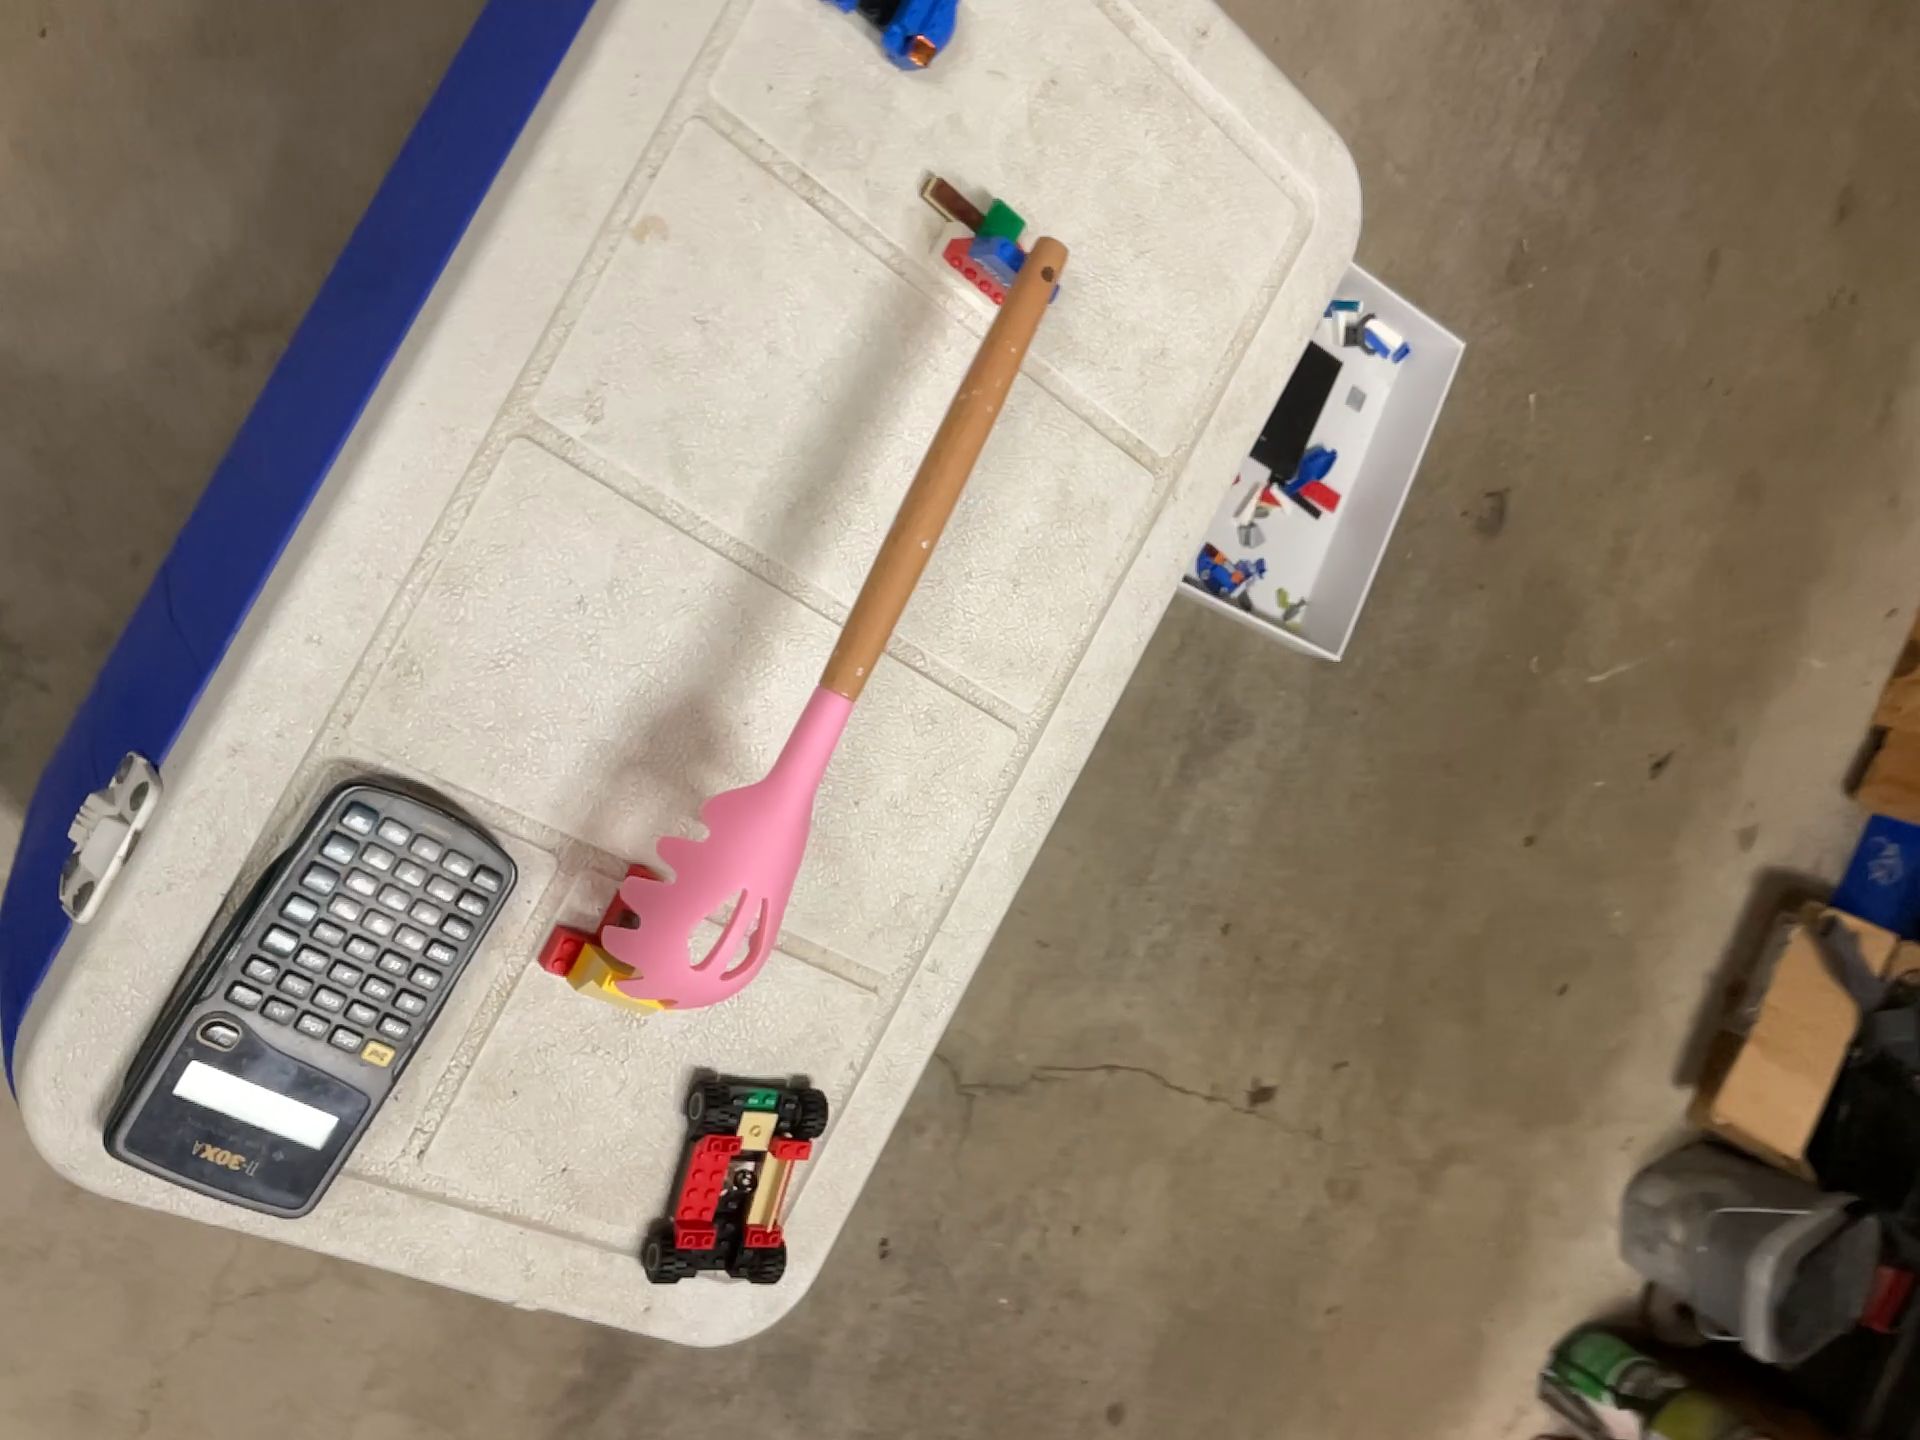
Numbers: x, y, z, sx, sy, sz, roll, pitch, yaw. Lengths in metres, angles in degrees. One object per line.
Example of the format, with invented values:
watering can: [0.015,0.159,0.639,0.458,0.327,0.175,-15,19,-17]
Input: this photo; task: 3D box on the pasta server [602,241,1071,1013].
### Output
pasta server: [-0.037,-0.035,0.583,0.060,0.040,0.316,29,84,-33]
